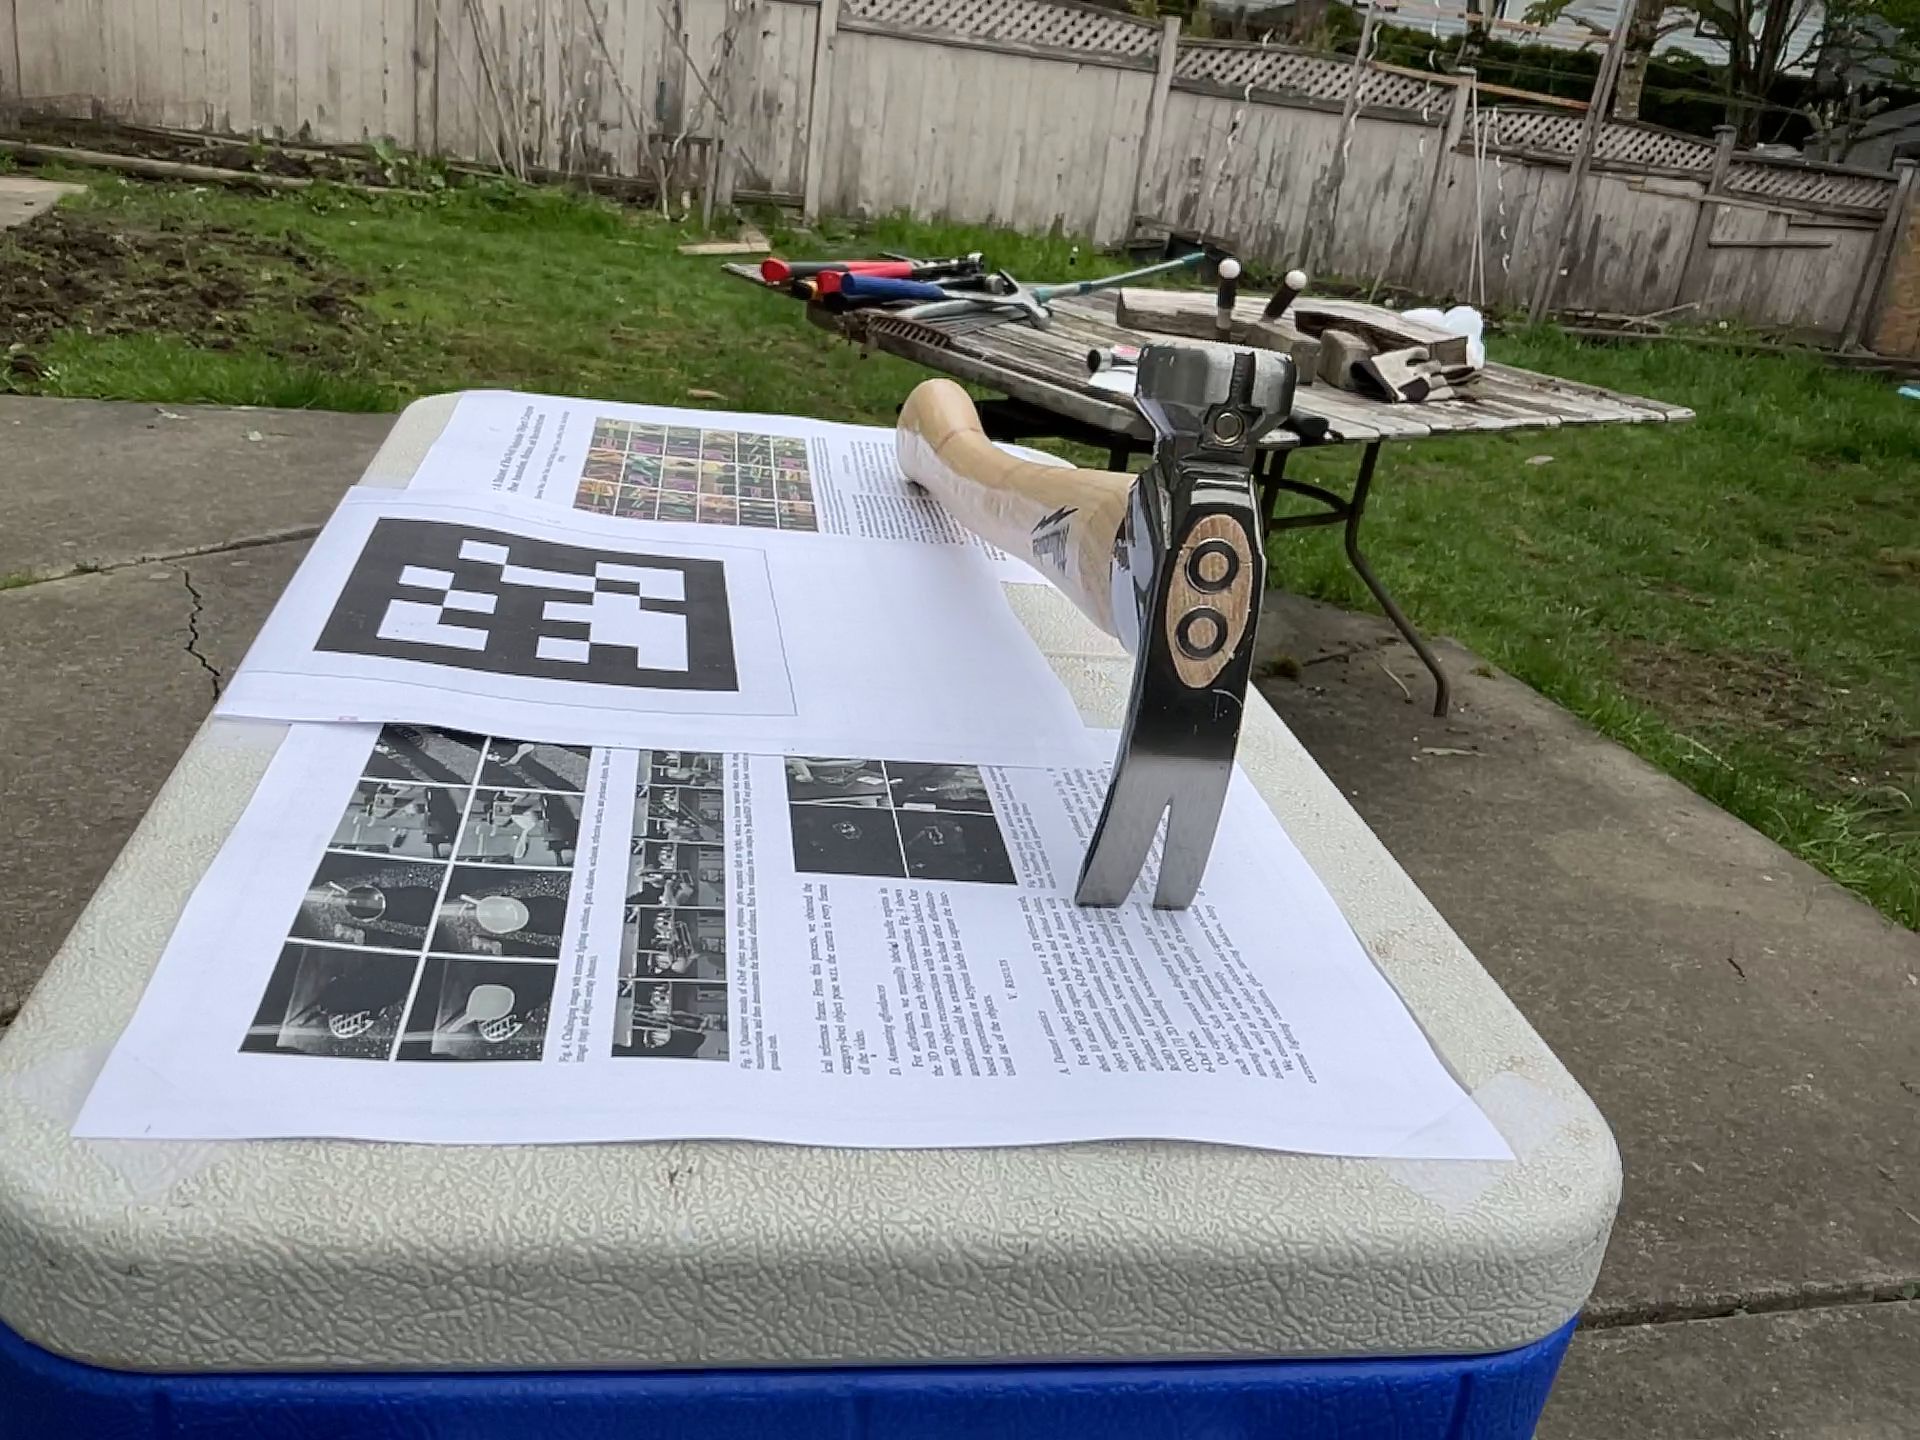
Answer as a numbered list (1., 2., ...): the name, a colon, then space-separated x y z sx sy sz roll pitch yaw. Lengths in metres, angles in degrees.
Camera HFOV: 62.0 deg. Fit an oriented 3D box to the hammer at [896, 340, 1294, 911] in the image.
1. hammer: 0.020 -0.068 0.583 0.038 0.146 0.411 4 14 -12
